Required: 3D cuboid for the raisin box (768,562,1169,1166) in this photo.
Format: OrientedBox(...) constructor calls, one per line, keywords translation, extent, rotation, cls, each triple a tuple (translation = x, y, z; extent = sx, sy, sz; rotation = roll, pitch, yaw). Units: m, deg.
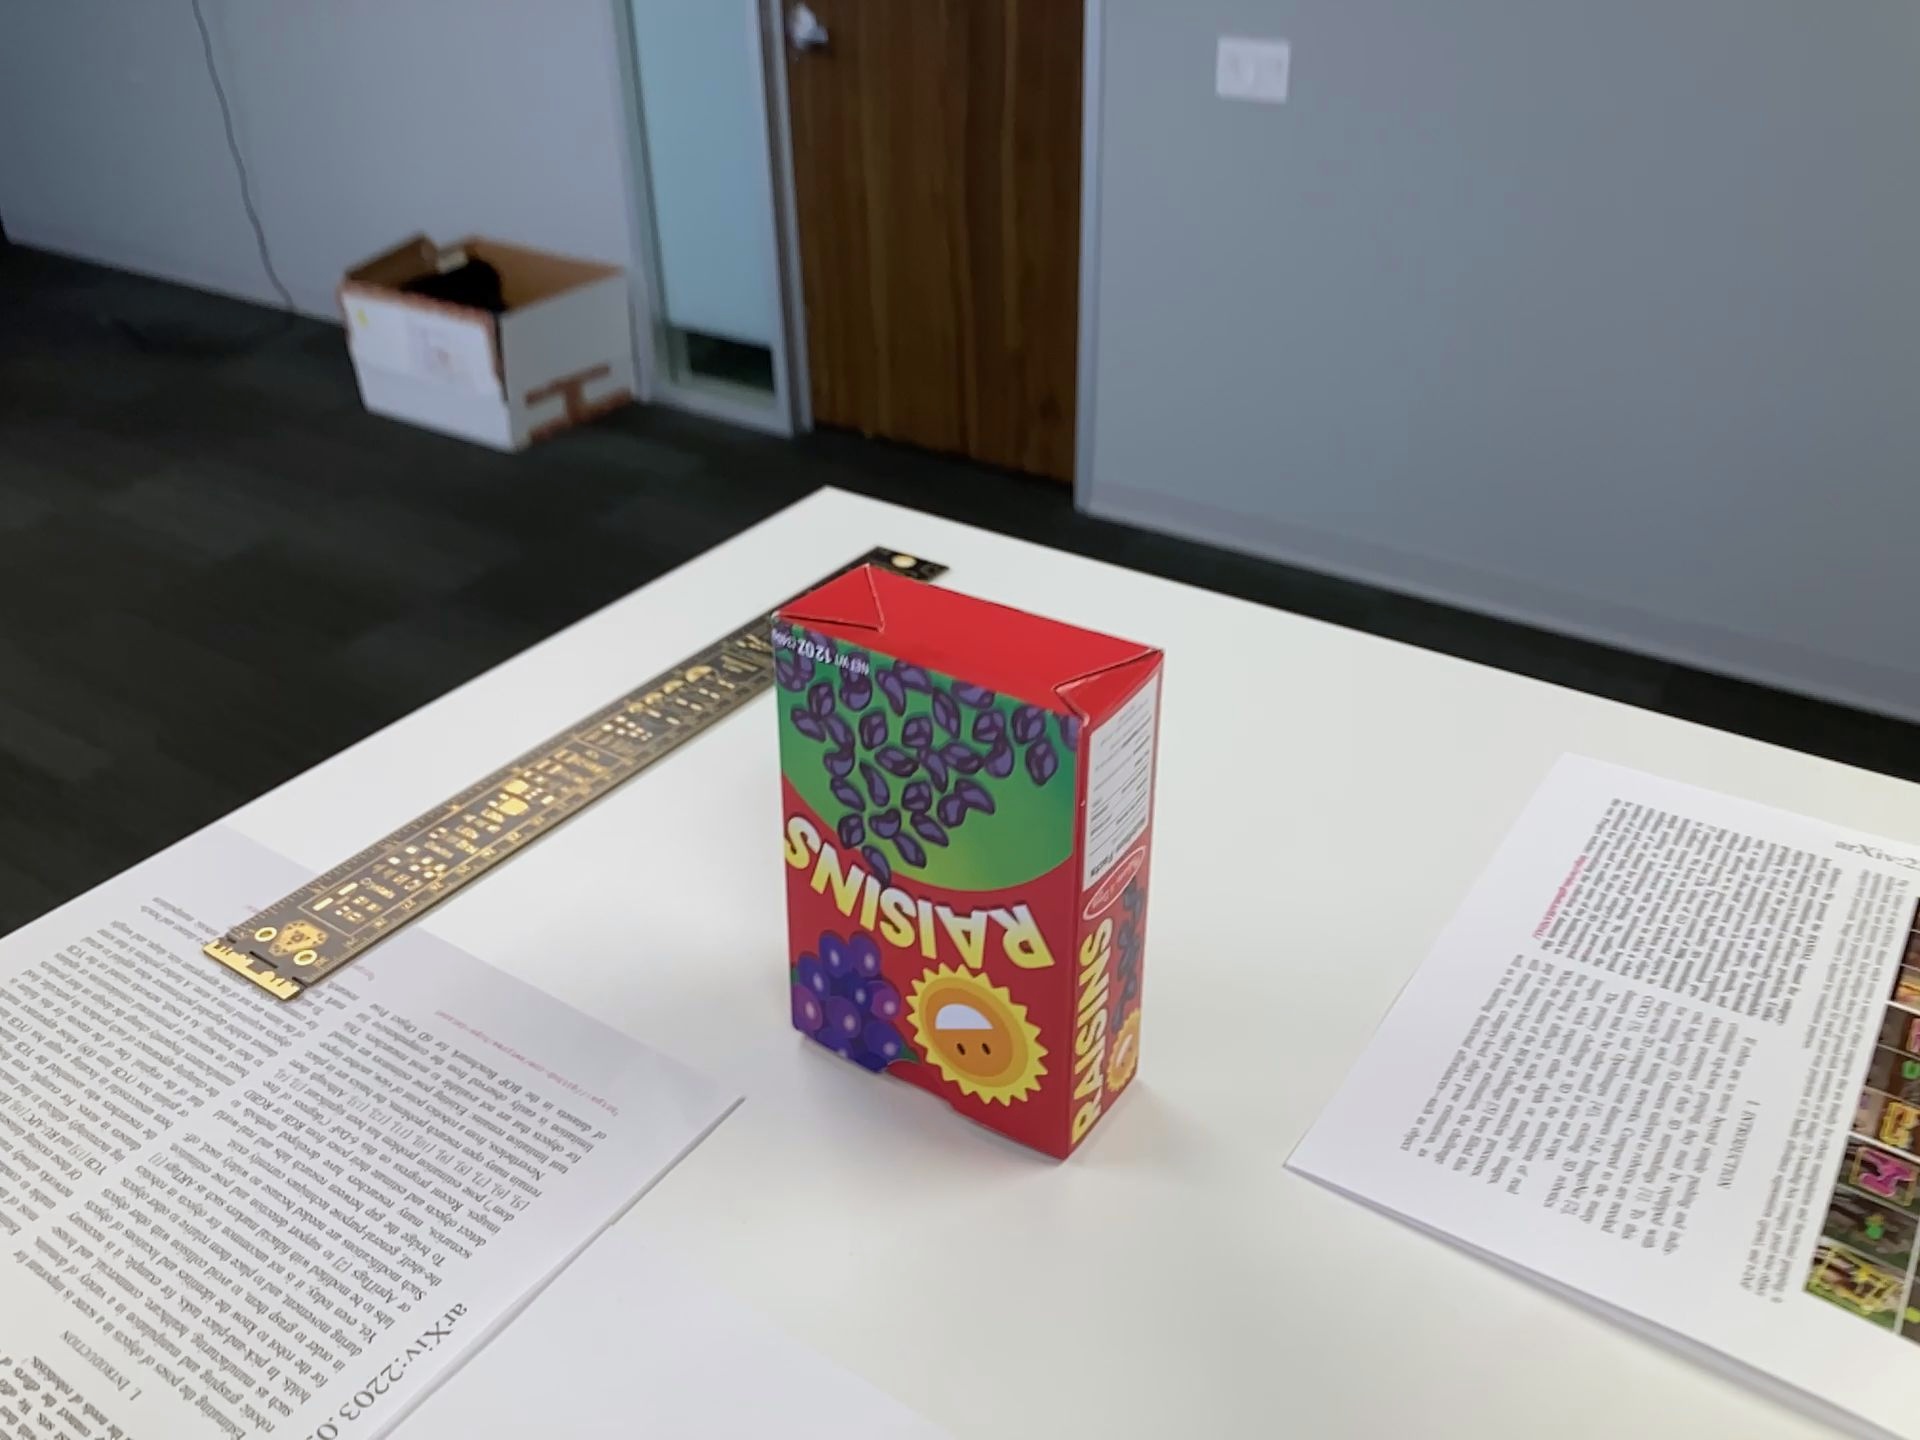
OrientedBox(translation=(0.001, 0.034, 0.378), extent=(0.086, 0.123, 0.040), rotation=(18, 34, 28), cls="raisin box")
